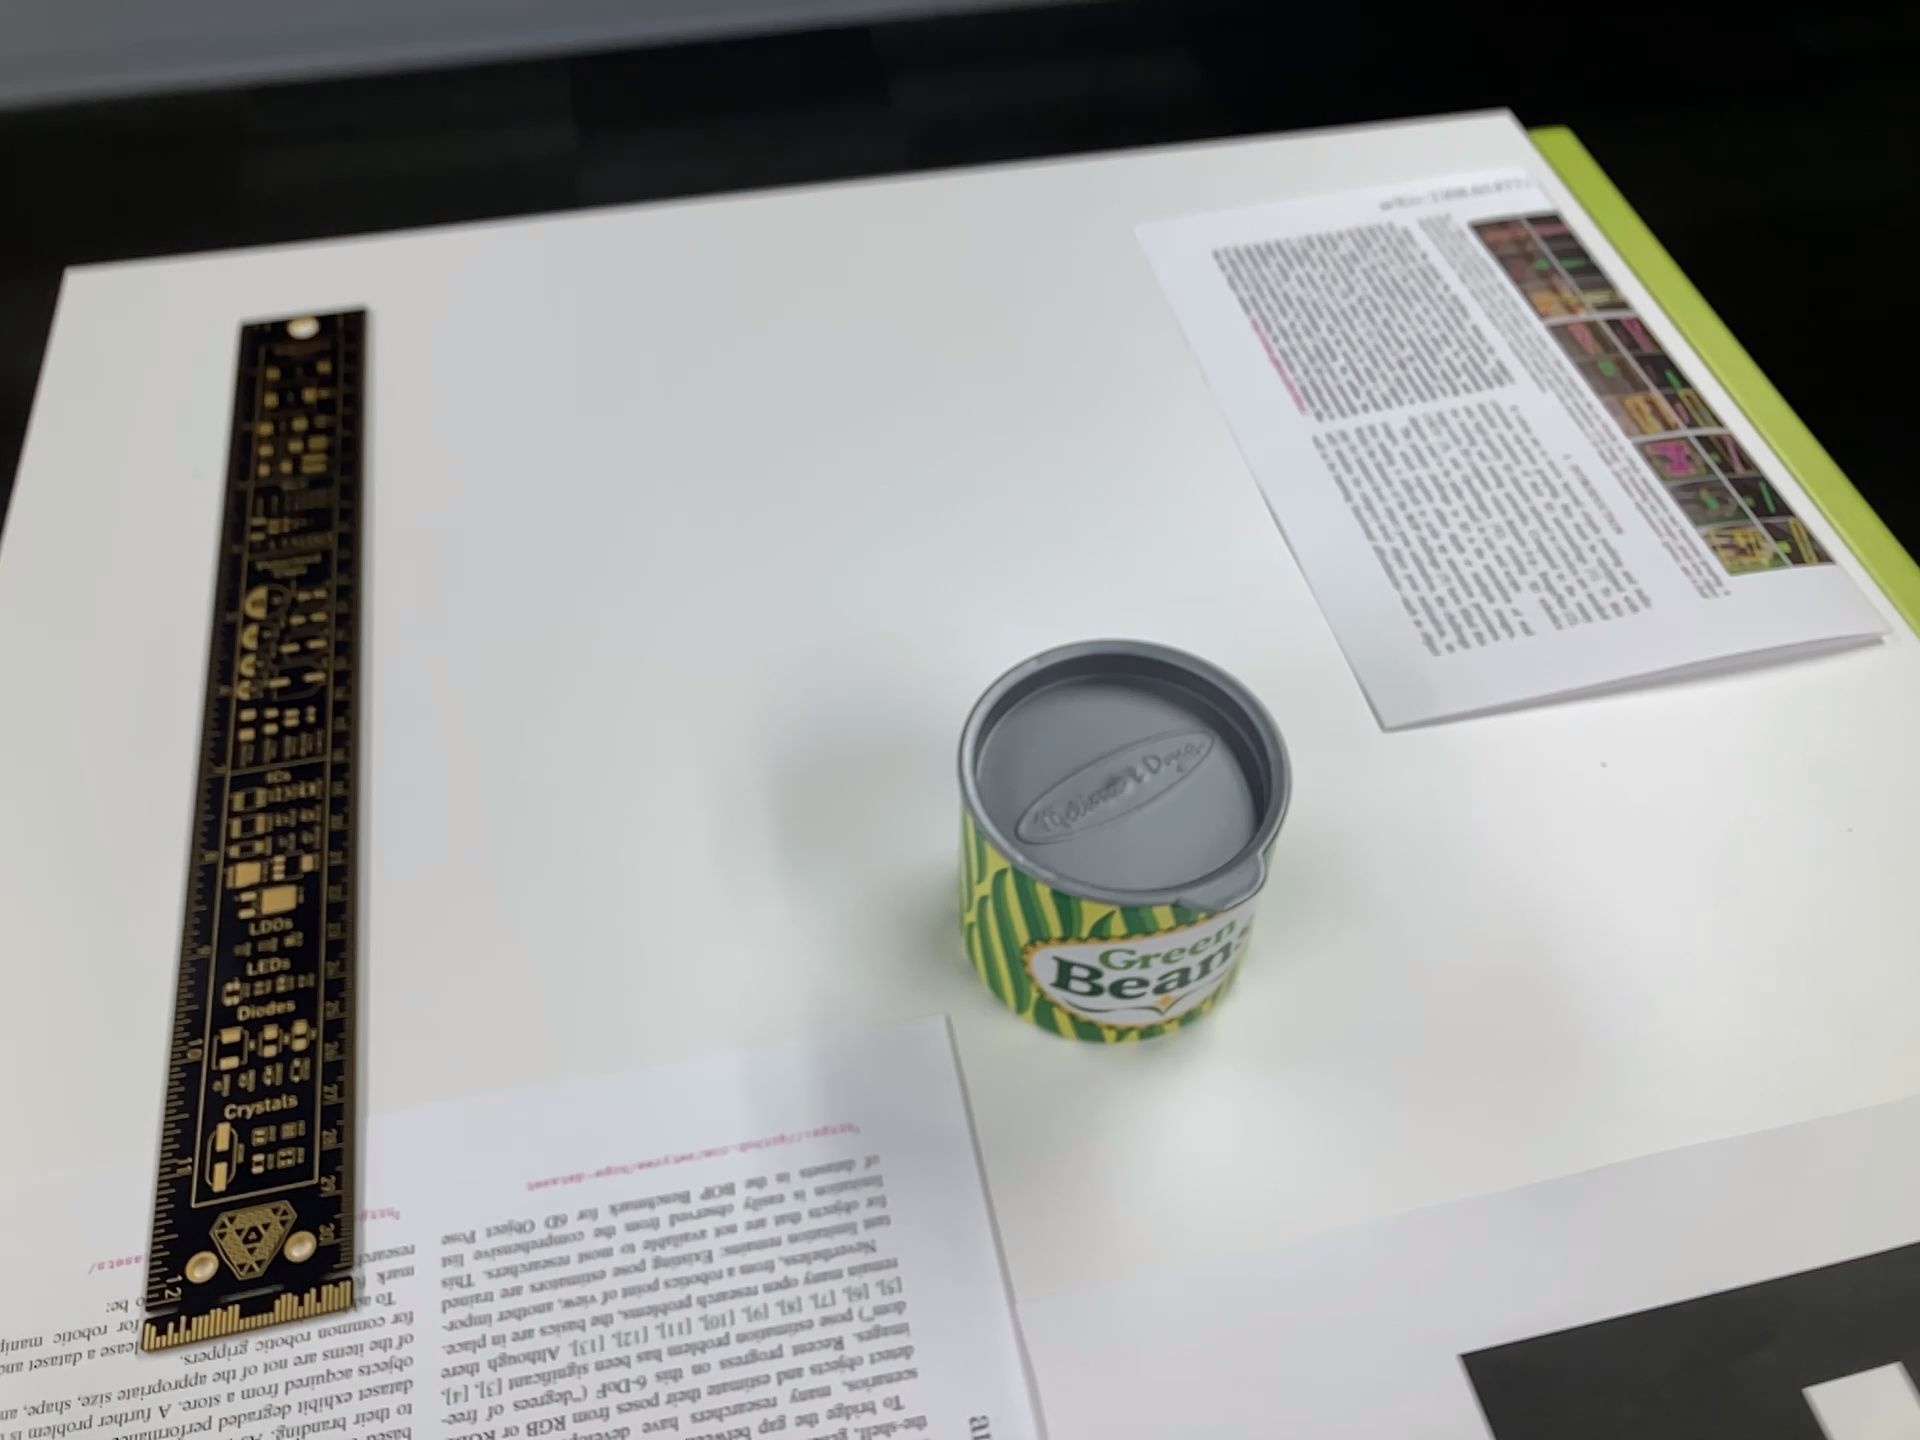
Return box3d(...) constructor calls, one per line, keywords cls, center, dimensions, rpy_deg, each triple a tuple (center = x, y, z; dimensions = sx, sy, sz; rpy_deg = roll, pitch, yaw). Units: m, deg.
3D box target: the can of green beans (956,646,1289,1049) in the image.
box3d(cls="can of green beans", center=(0.032, 0.028, 0.340), dimensions=(0.071, 0.058, 0.071), rpy_deg=(0, 51, 0))
